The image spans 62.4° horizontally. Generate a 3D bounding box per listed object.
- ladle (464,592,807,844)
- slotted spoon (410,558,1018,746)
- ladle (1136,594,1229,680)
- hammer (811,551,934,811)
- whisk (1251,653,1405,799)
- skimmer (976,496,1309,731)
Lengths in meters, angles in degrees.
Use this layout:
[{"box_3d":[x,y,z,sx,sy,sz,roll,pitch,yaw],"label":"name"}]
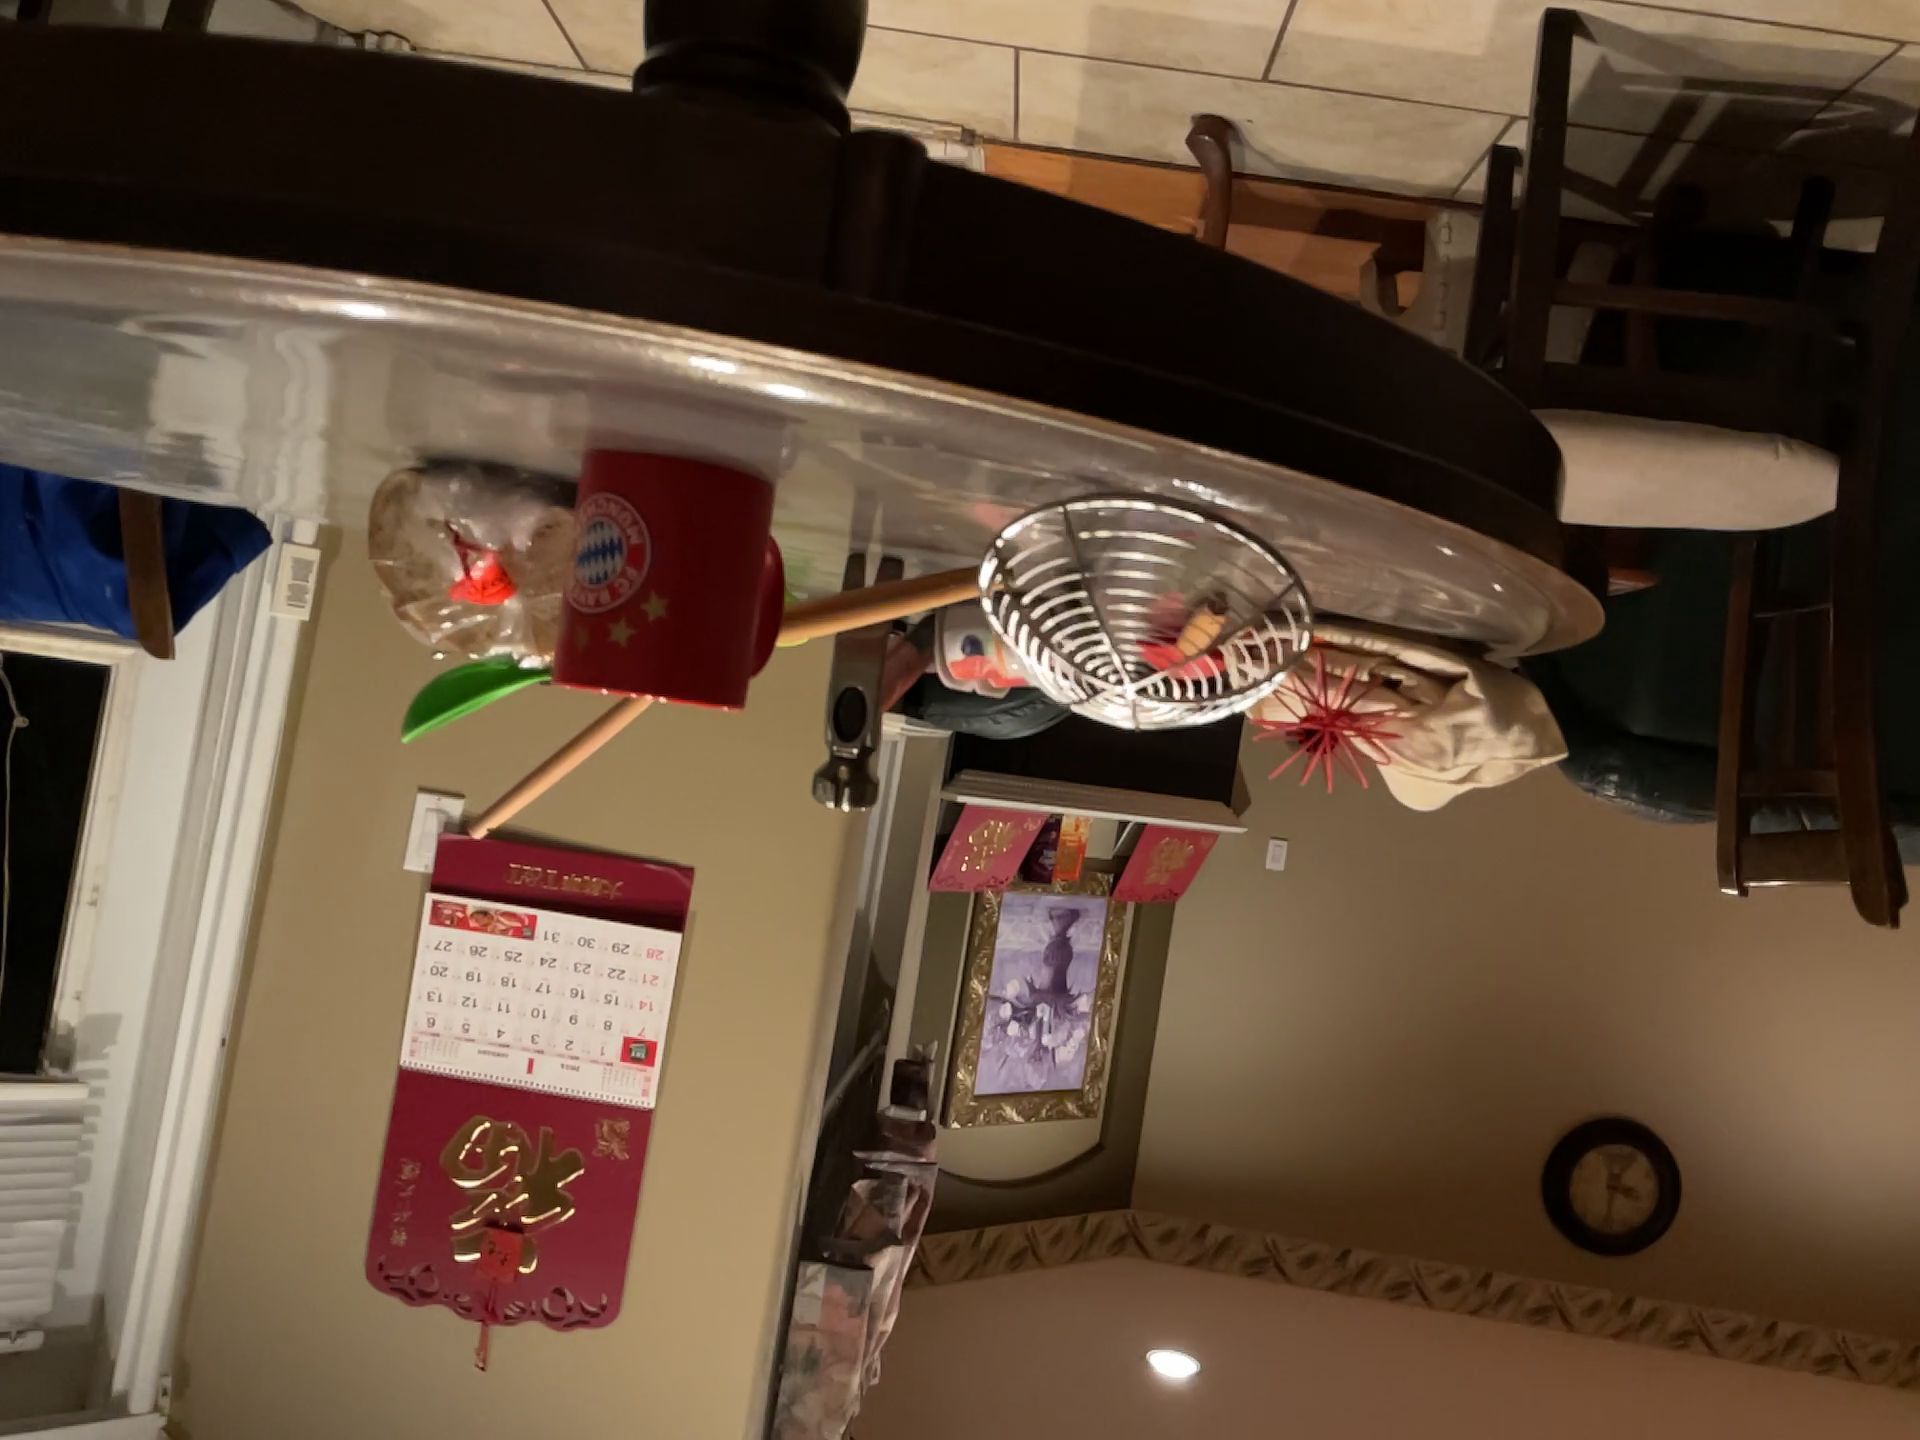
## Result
[{"box_3d":[-0.250,0.003,1.201,0.062,0.320,0.078,56,-170,25],"label":"ladle"},{"box_3d":[-0.124,-0.040,0.796,0.313,0.031,0.070,-14,-174,-4],"label":"slotted spoon"},{"box_3d":[0.146,-0.050,0.974,0.069,0.031,0.315,8,177,5],"label":"ladle"},{"box_3d":[-0.036,-0.053,1.050,0.038,0.143,0.386,10,-169,4],"label":"hammer"},{"box_3d":[0.195,0.006,0.855,0.073,0.073,0.295,7,180,11],"label":"whisk"},{"box_3d":[0.069,-0.062,0.733,0.127,0.090,0.363,16,-170,-2],"label":"skimmer"}]
